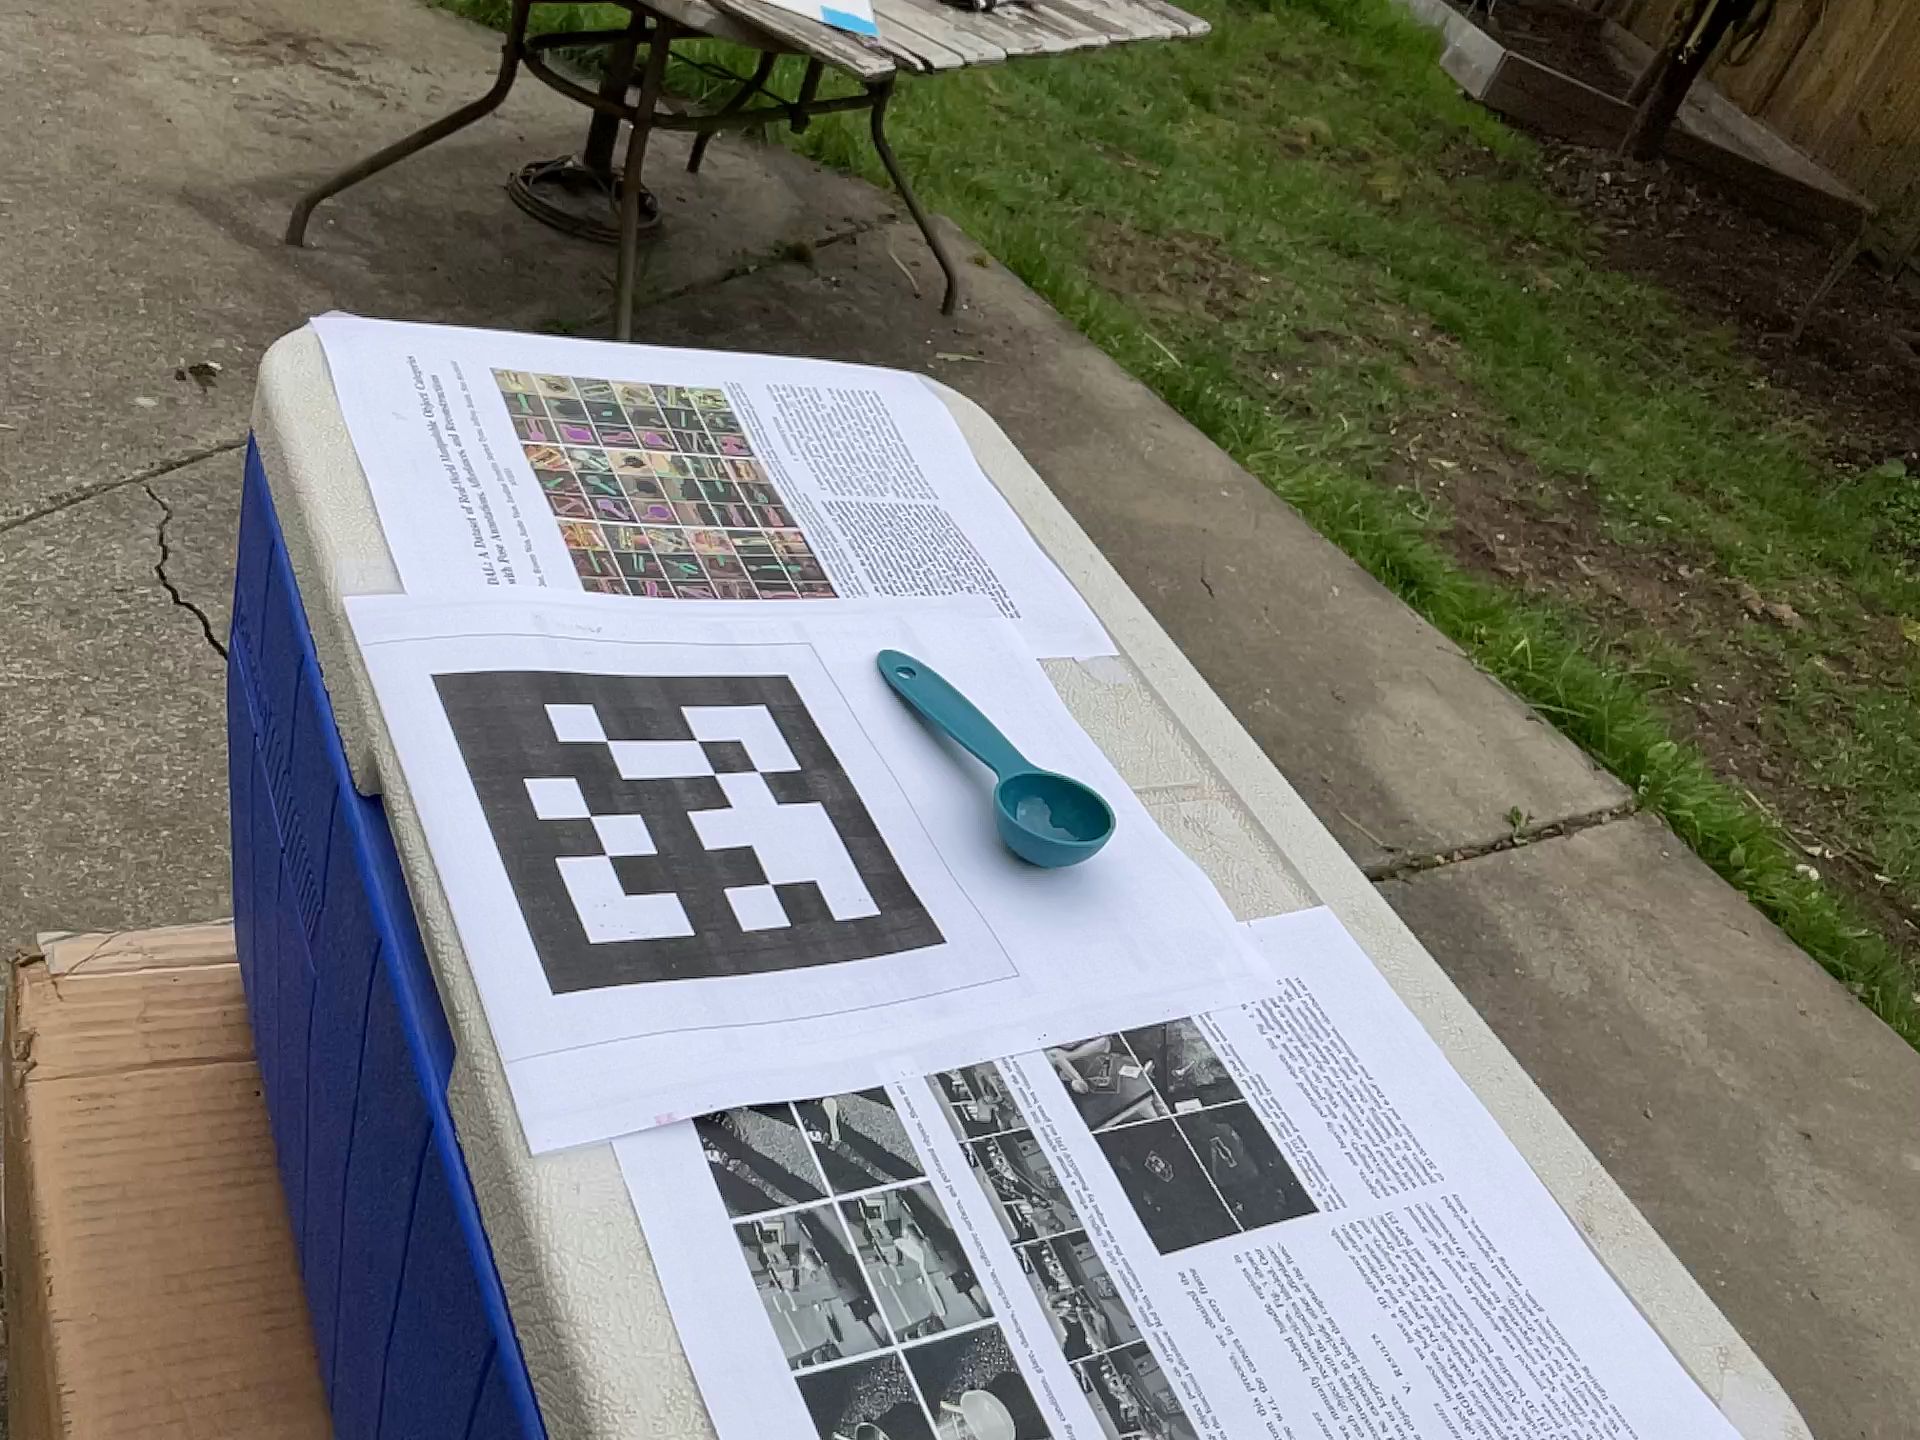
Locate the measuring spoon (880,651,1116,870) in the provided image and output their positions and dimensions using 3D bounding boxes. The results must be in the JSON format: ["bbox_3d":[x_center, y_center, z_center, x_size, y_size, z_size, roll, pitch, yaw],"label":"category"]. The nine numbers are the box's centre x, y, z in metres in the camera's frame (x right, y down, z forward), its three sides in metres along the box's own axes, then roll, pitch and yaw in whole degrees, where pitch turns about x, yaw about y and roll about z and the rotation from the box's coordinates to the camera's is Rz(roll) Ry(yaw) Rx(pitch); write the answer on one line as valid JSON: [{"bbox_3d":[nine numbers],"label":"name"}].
[{"bbox_3d":[0.006,0.015,0.569,0.042,0.021,0.129,-7,36,-36],"label":"measuring spoon"}]
